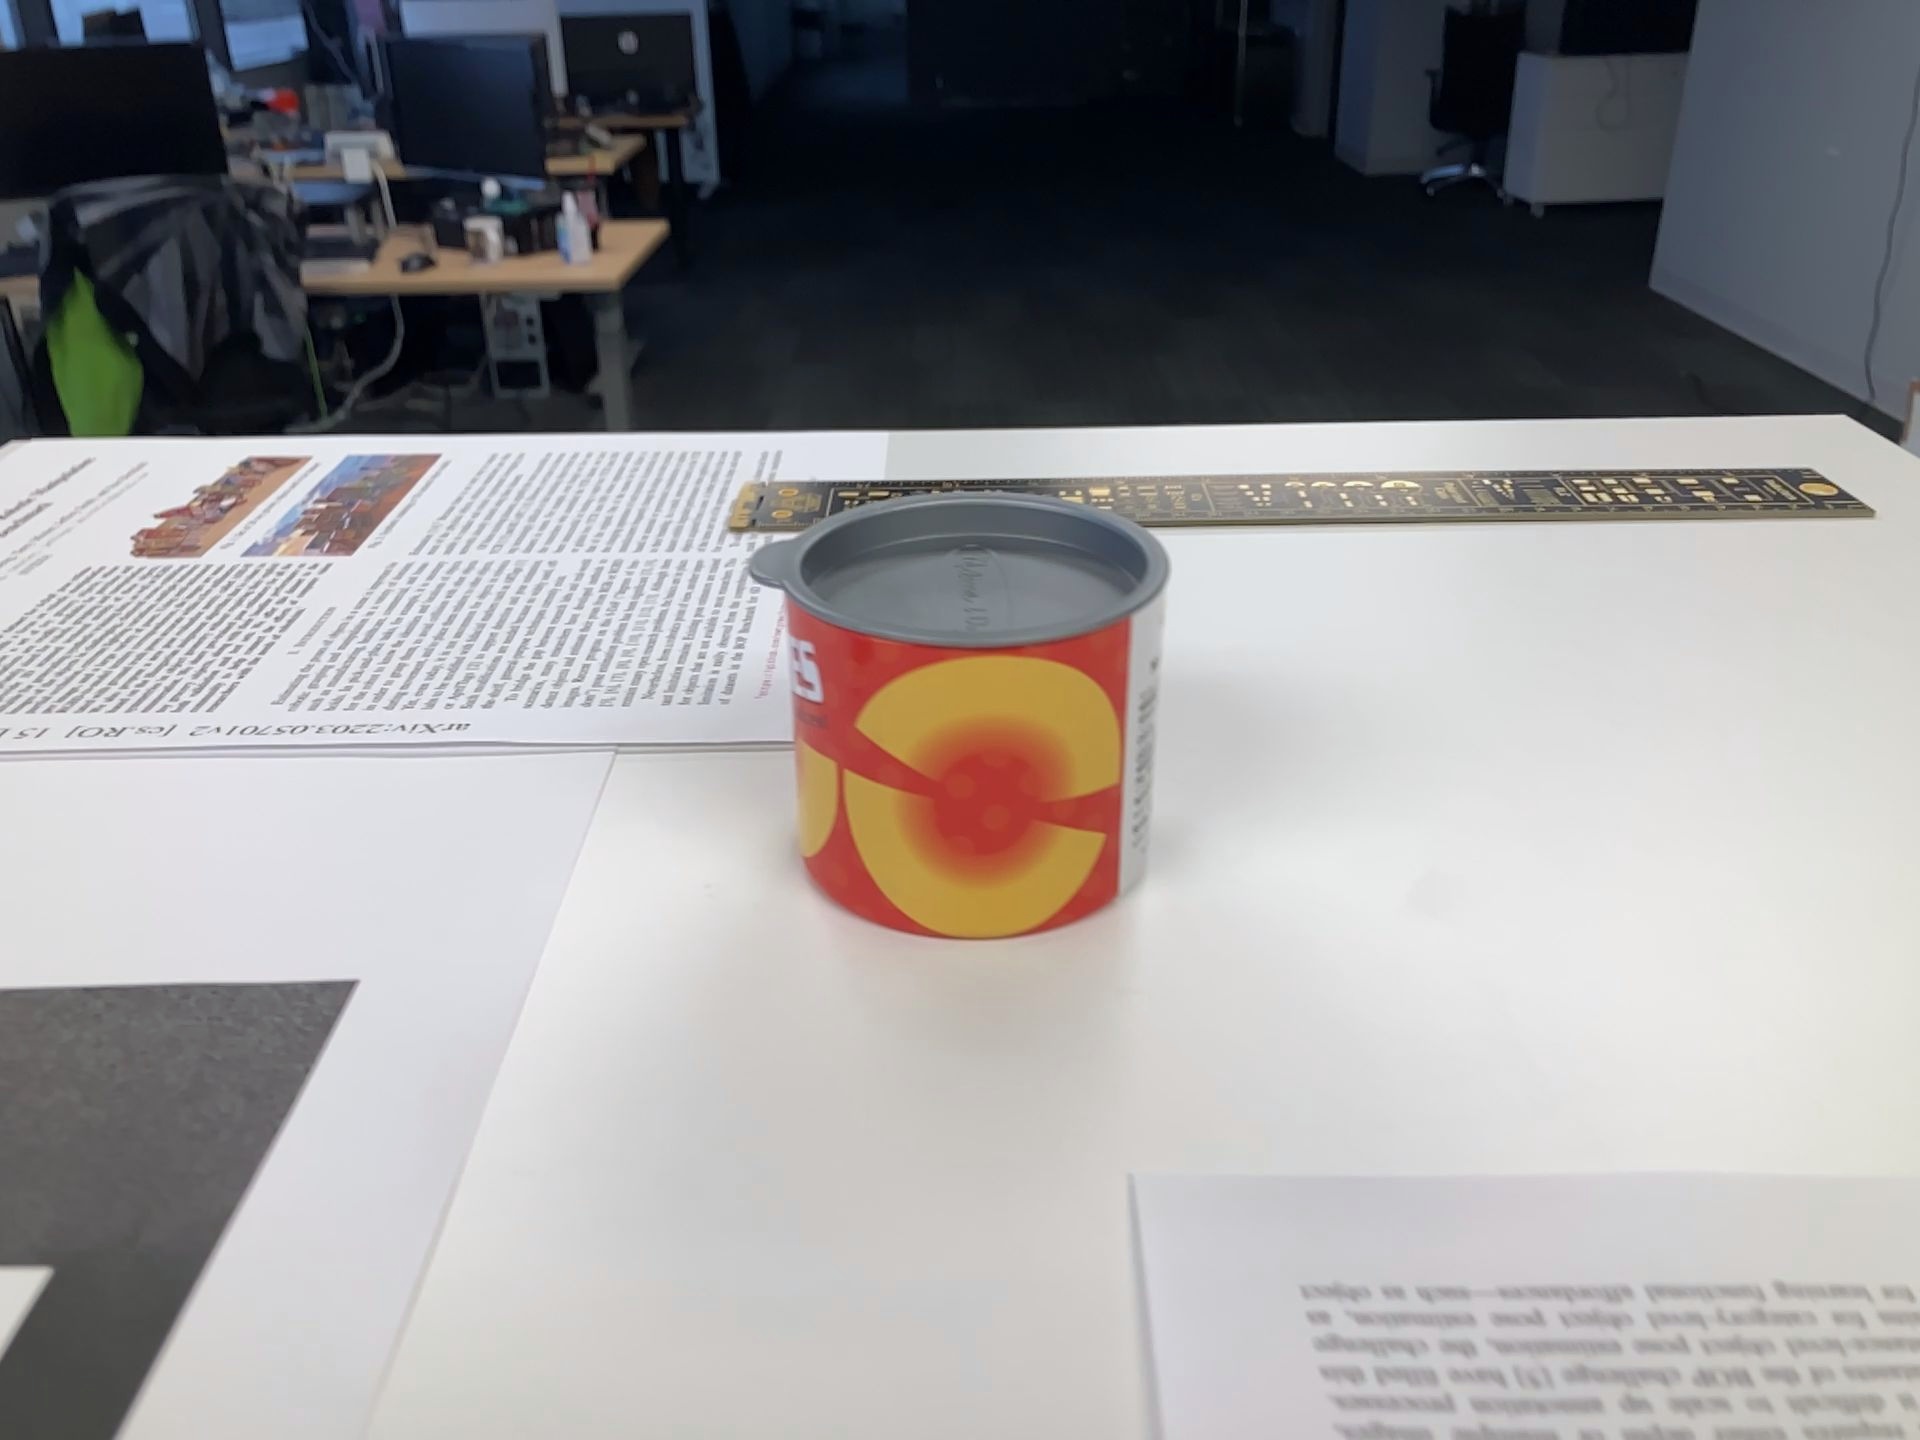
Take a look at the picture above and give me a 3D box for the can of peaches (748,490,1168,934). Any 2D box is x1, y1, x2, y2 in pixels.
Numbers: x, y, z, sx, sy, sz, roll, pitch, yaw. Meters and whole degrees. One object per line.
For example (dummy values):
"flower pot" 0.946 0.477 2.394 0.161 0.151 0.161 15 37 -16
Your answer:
"can of peaches" 0.000 -0.003 0.283 0.071 0.058 0.071 -1 27 1
